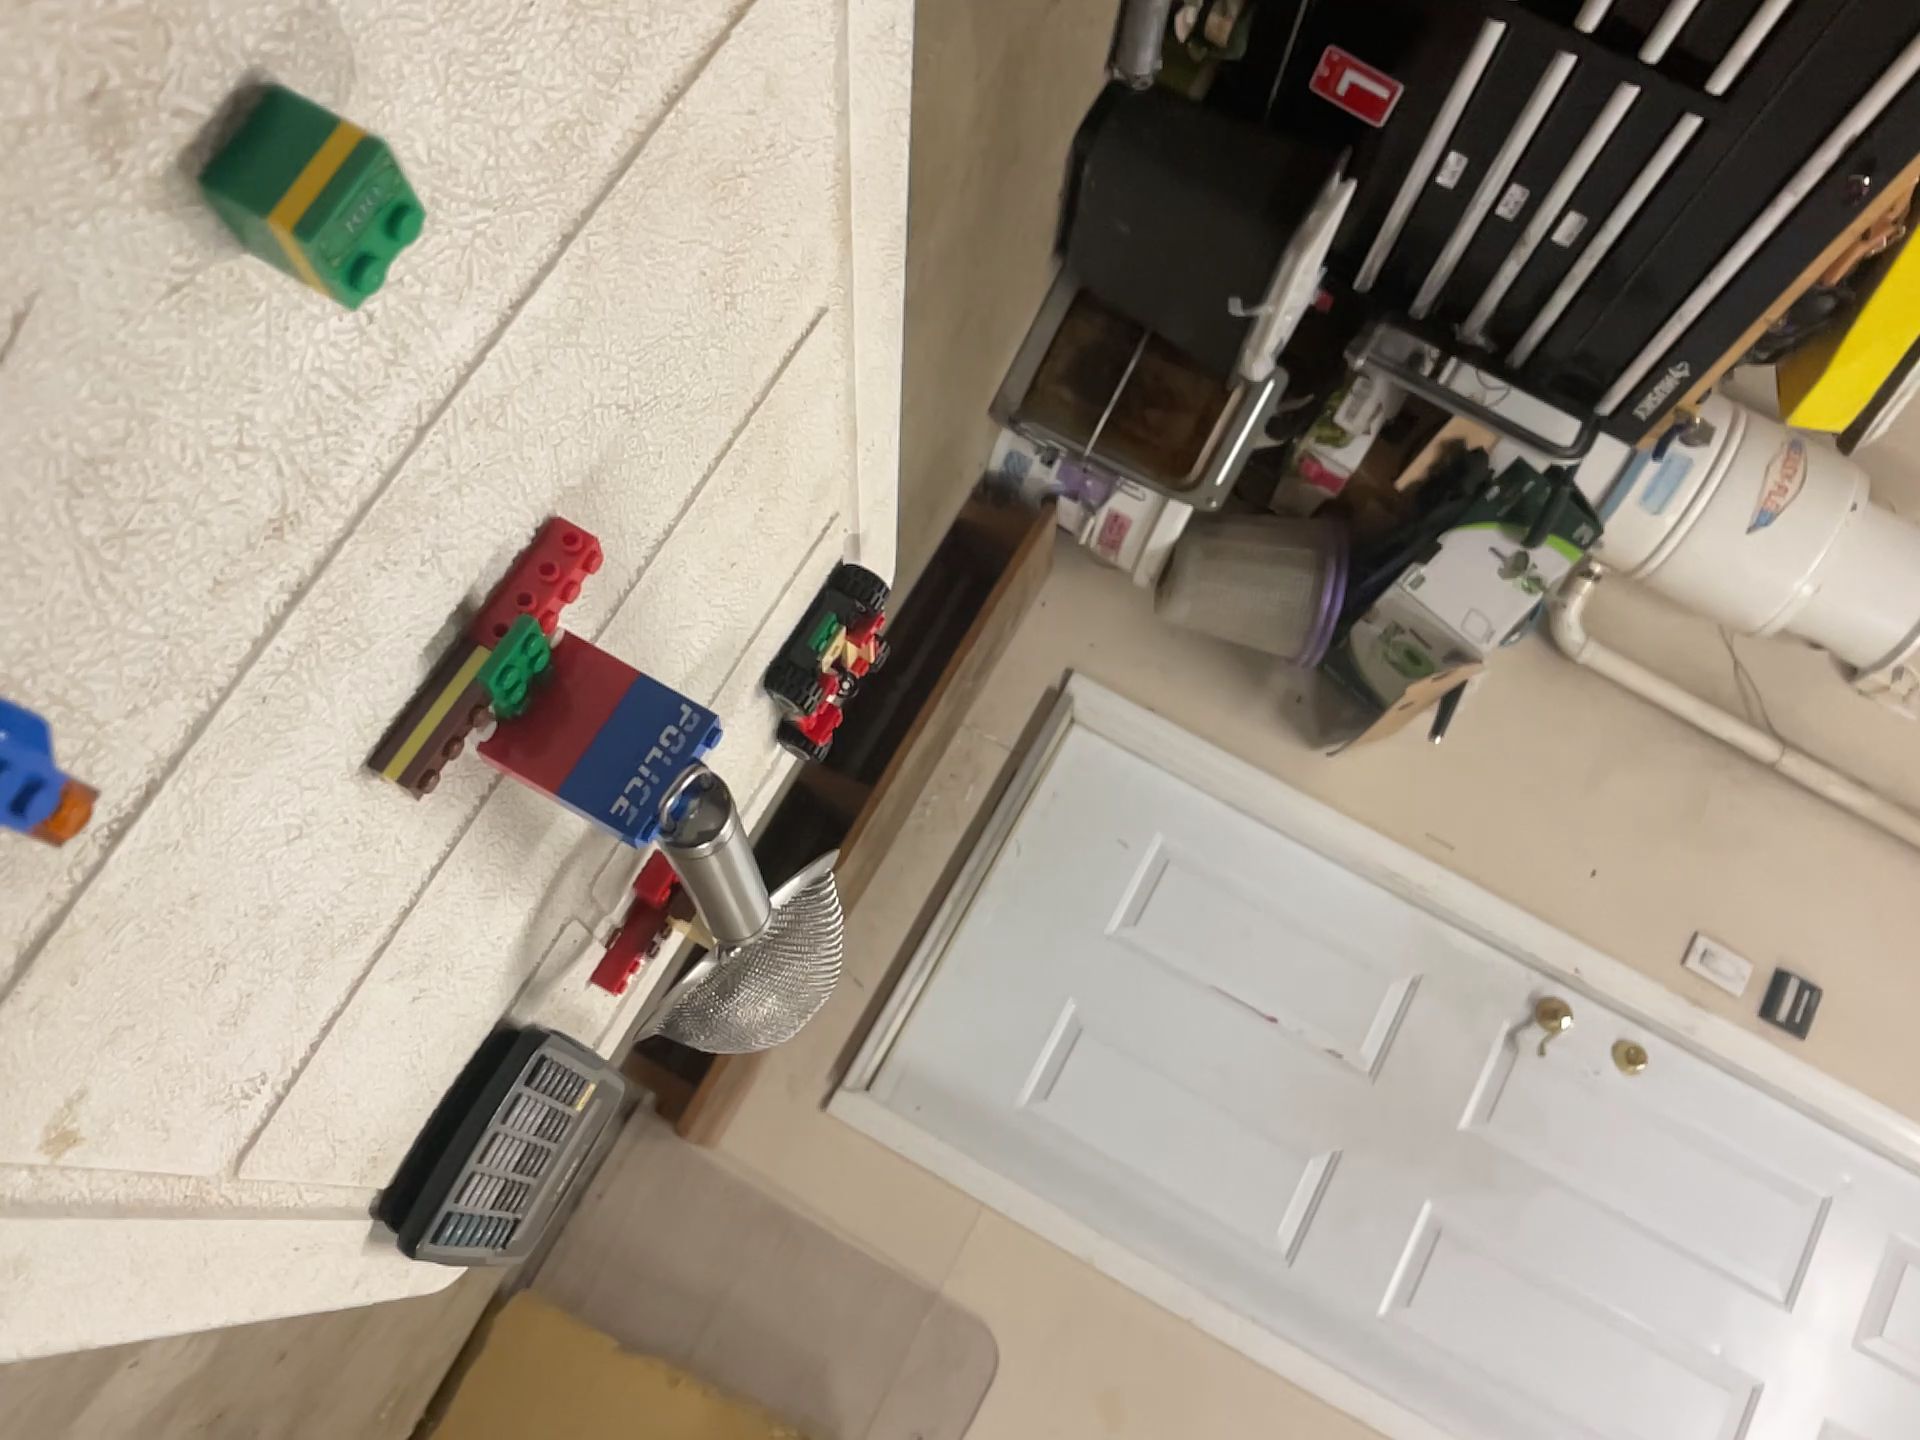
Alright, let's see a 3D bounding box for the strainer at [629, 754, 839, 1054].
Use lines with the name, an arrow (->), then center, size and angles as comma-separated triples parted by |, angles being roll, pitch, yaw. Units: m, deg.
strainer -> -0.062, 0.055, 0.438 | 0.087, 0.050, 0.258 | -43, 167, -15
